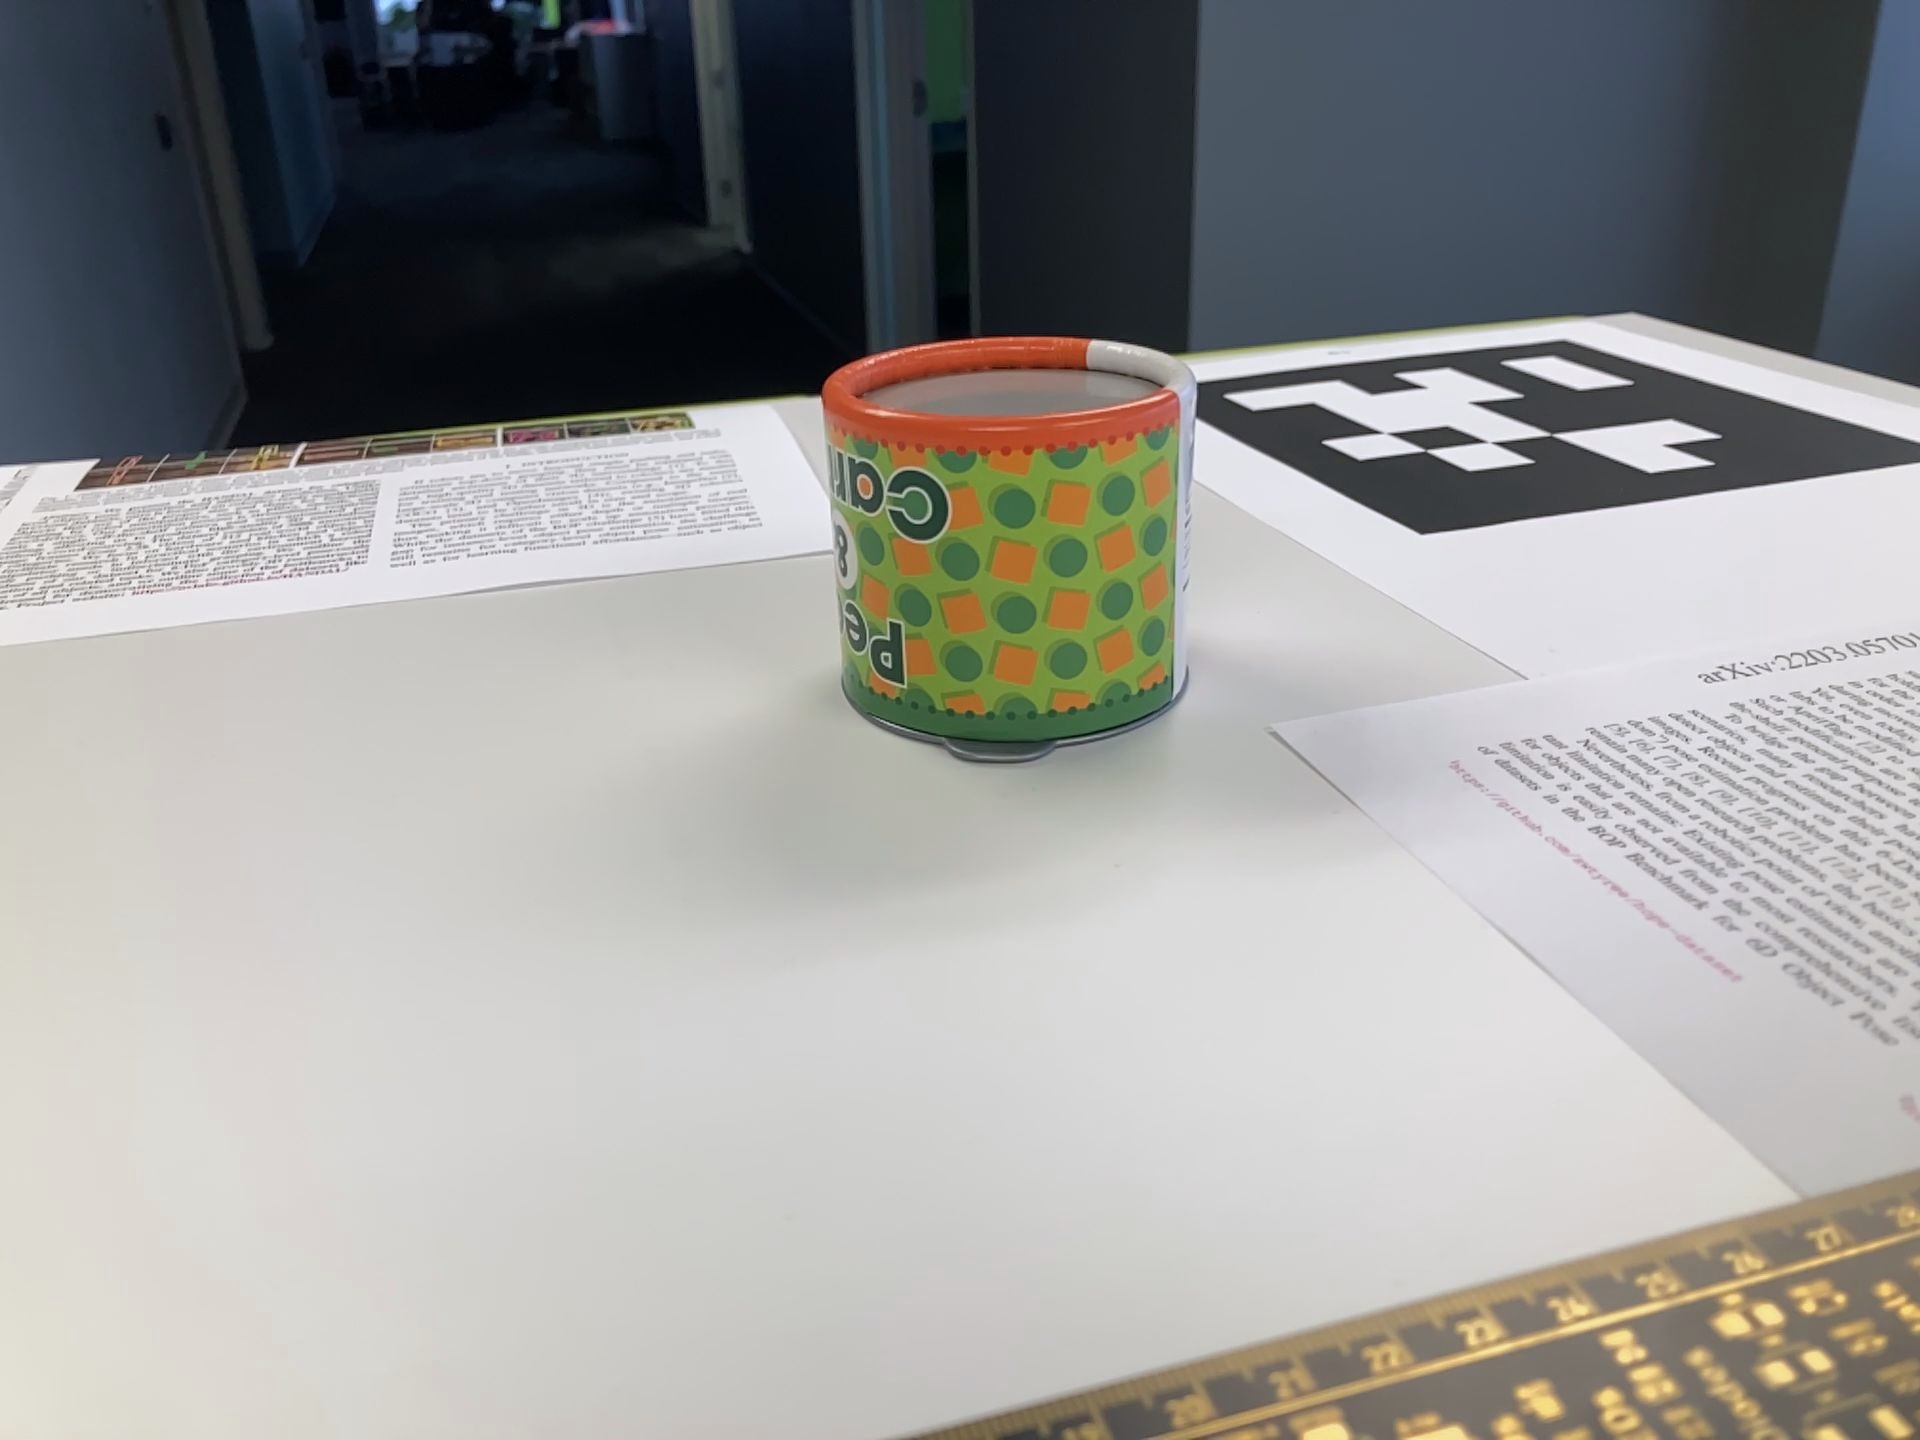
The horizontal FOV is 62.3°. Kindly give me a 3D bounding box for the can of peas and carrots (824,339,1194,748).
[{"bbox_3d":[0.007,-0.034,0.293,0.071,0.059,0.071,-2,24,1],"label":"can of peas and carrots"}]
